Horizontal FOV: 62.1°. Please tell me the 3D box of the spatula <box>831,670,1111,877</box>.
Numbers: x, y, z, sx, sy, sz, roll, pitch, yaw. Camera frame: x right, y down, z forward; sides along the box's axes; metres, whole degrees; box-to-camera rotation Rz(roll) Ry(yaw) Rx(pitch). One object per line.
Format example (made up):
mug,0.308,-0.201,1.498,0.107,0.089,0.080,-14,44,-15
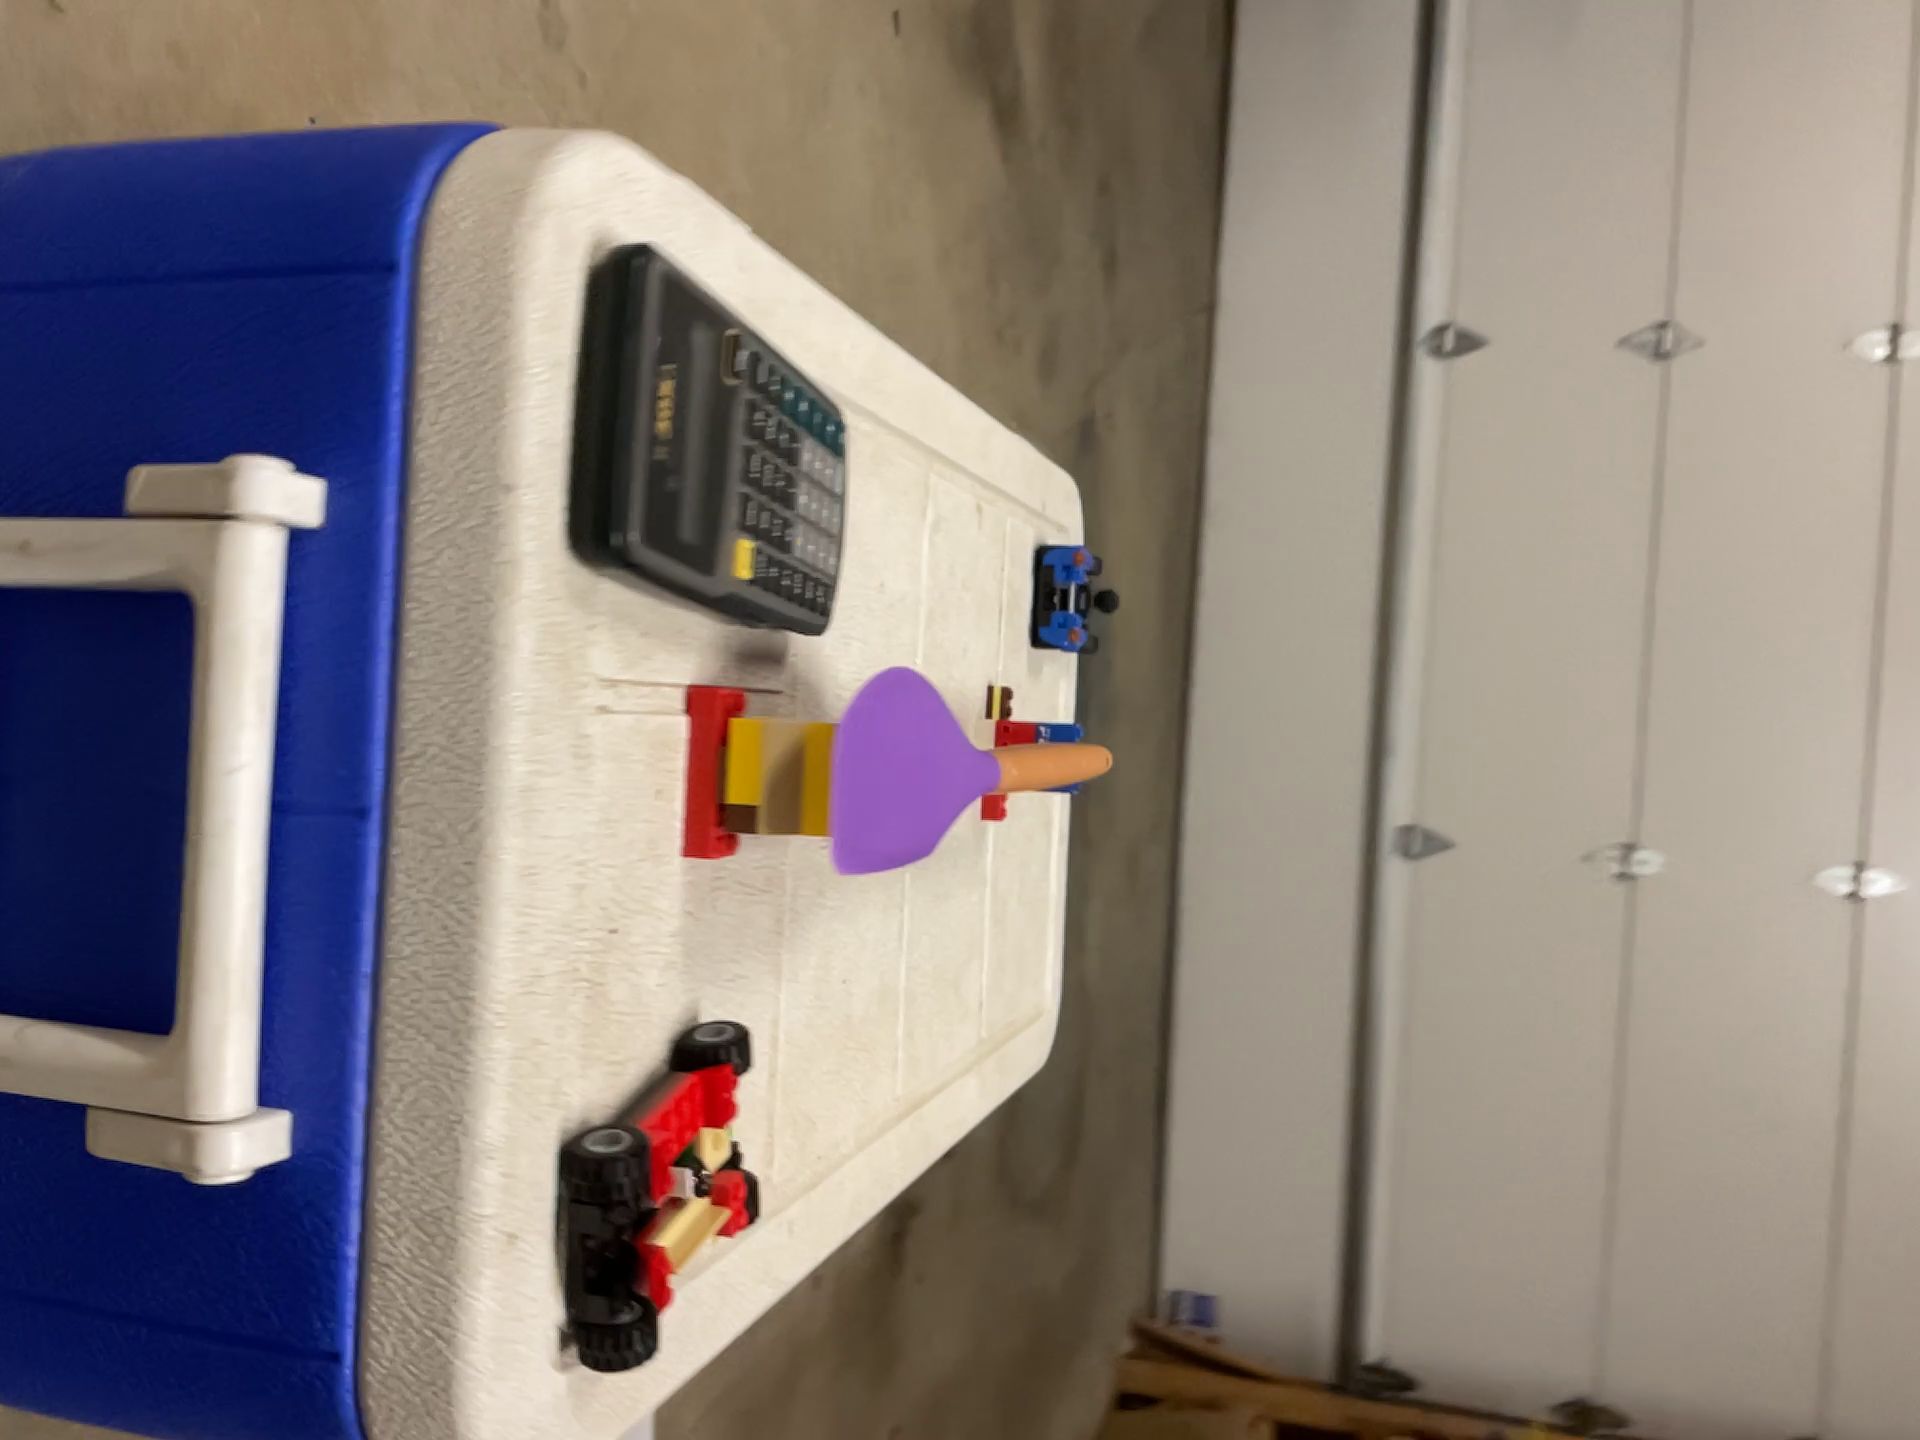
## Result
spatula,0.015,0.016,0.577,0.316,0.018,0.060,2,92,-72
